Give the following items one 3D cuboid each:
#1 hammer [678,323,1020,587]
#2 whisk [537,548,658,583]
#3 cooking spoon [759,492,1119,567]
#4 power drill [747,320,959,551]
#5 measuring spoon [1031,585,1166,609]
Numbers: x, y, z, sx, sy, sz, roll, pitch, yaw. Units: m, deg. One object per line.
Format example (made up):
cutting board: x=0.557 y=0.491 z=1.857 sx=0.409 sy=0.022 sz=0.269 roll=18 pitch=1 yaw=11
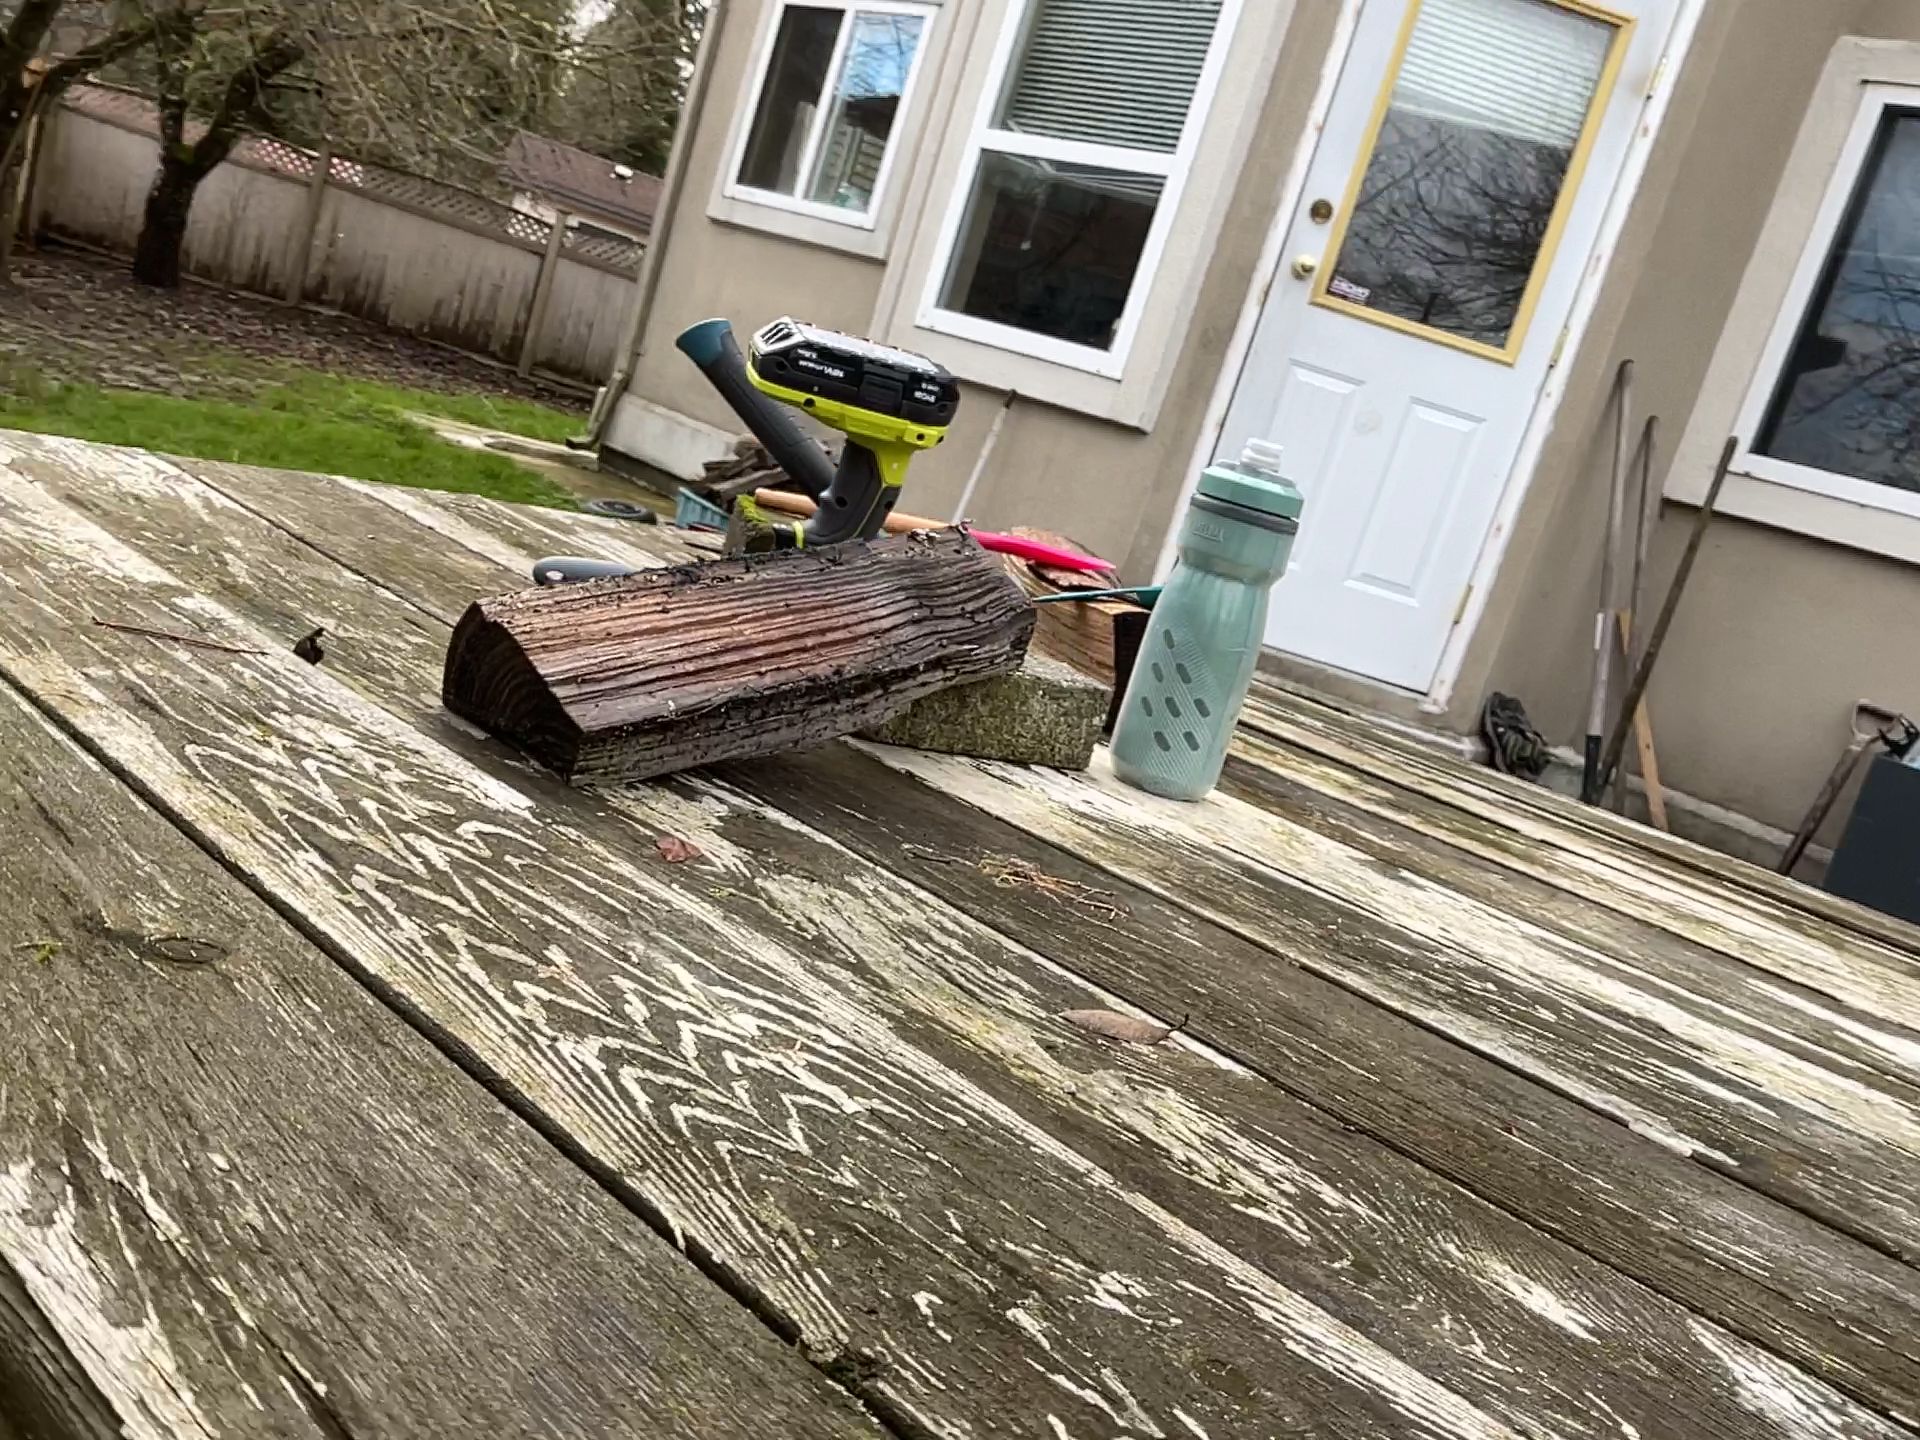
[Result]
hammer: x=-0.100 y=-0.176 z=1.223 sx=0.331 sy=0.128 sz=0.033 roll=51 pitch=15 yaw=6
whisk: x=-0.182 y=-0.095 z=1.144 sx=0.238 sy=0.055 sz=0.055 roll=9 pitch=5 yaw=-20
cooking spoon: x=-0.014 y=-0.160 z=1.357 sx=0.318 sy=0.017 sz=0.069 roll=8 pitch=14 yaw=-17
power drill: x=-0.101 y=-0.140 z=1.055 sx=0.171 sy=0.223 sz=0.080 roll=11 pitch=20 yaw=-19
measuring spoon: x=0.117 y=-0.092 z=1.238 sx=0.129 sy=0.021 sz=0.042 roll=-3 pitch=5 yaw=21
